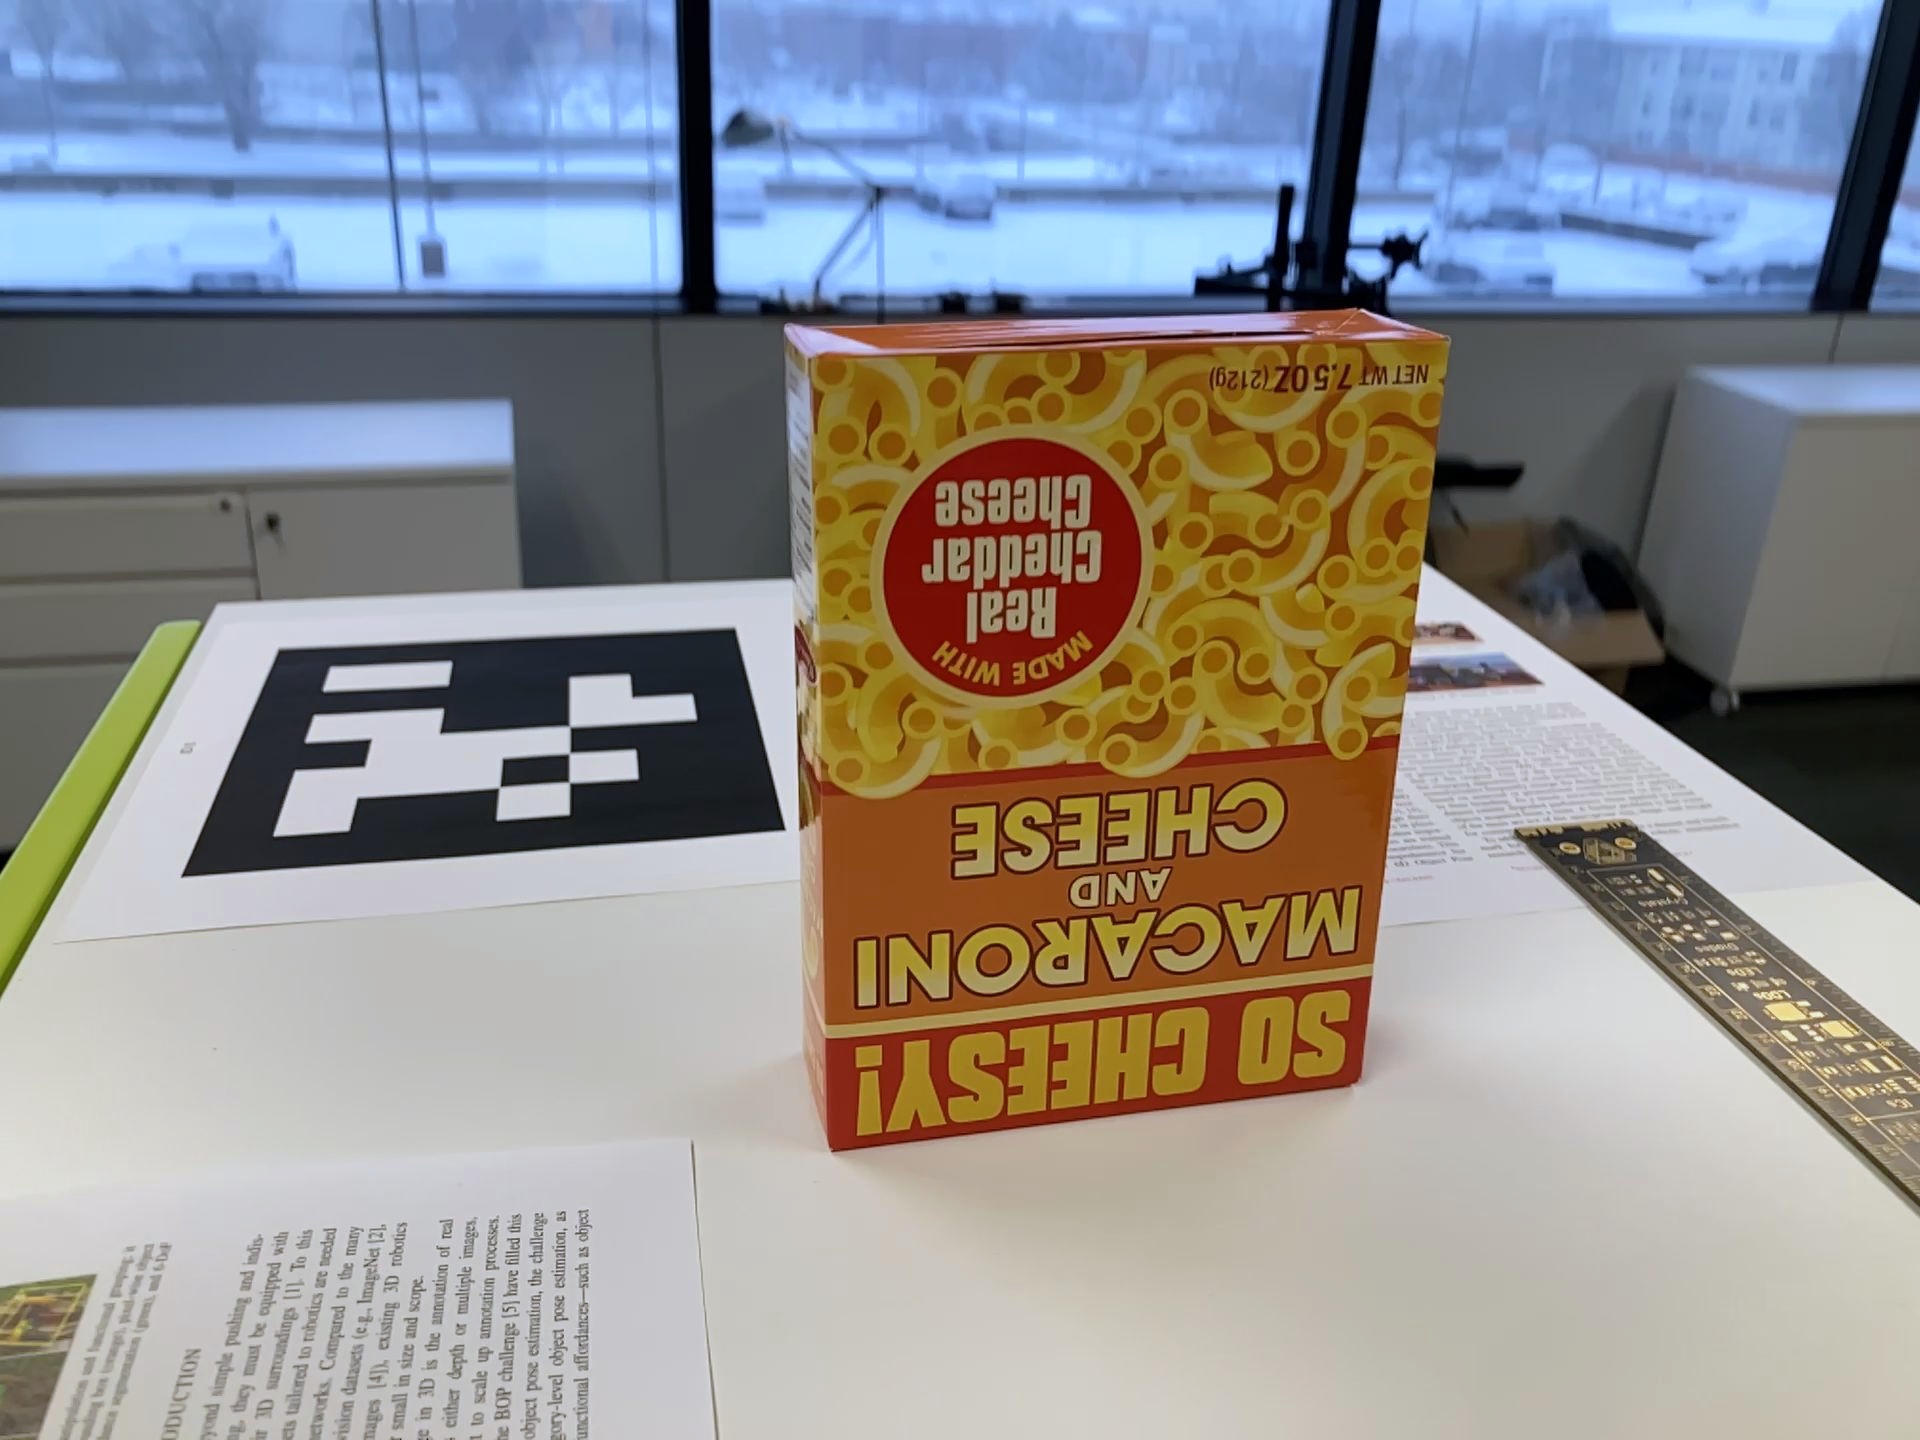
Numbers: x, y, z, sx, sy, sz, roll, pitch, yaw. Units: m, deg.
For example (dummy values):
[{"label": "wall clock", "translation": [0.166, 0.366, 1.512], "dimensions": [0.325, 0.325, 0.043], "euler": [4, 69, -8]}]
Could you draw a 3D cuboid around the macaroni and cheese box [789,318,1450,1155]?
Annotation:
[{"label": "macaroni and cheese box", "translation": [0.030, 0.003, 0.335], "dimensions": [0.124, 0.166, 0.040], "euler": [-4, 22, -12]}]
